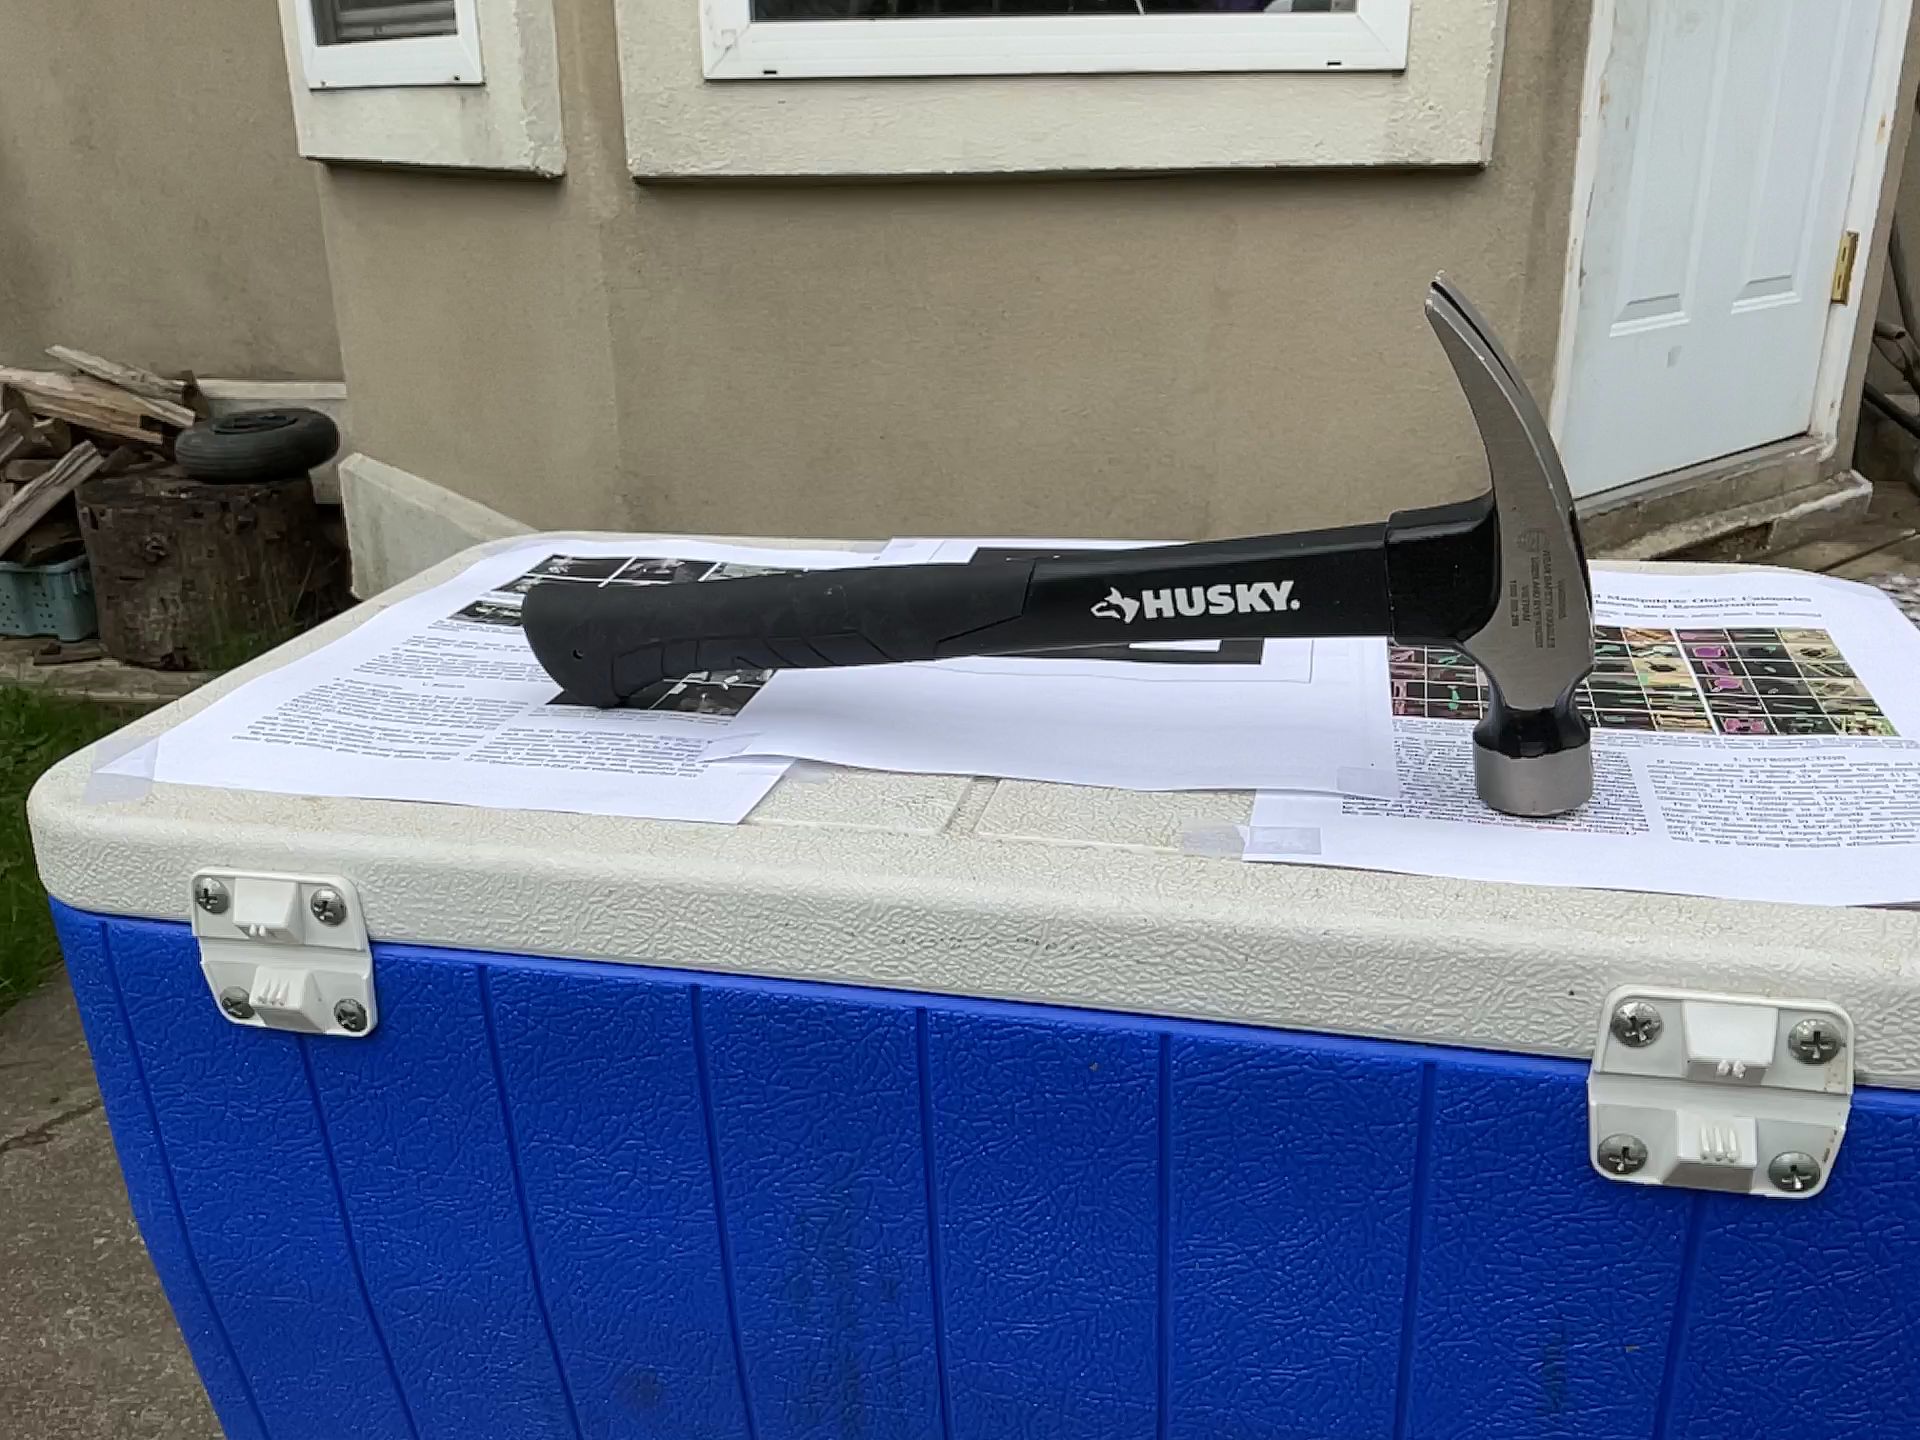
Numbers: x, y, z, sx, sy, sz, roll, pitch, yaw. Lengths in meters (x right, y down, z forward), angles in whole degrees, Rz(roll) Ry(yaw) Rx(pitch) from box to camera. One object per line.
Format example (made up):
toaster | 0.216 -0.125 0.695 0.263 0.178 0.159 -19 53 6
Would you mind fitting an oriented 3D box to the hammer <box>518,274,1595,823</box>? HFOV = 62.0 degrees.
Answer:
hammer | 0.009 -0.038 0.480 0.335 0.146 0.035 -2 25 23
